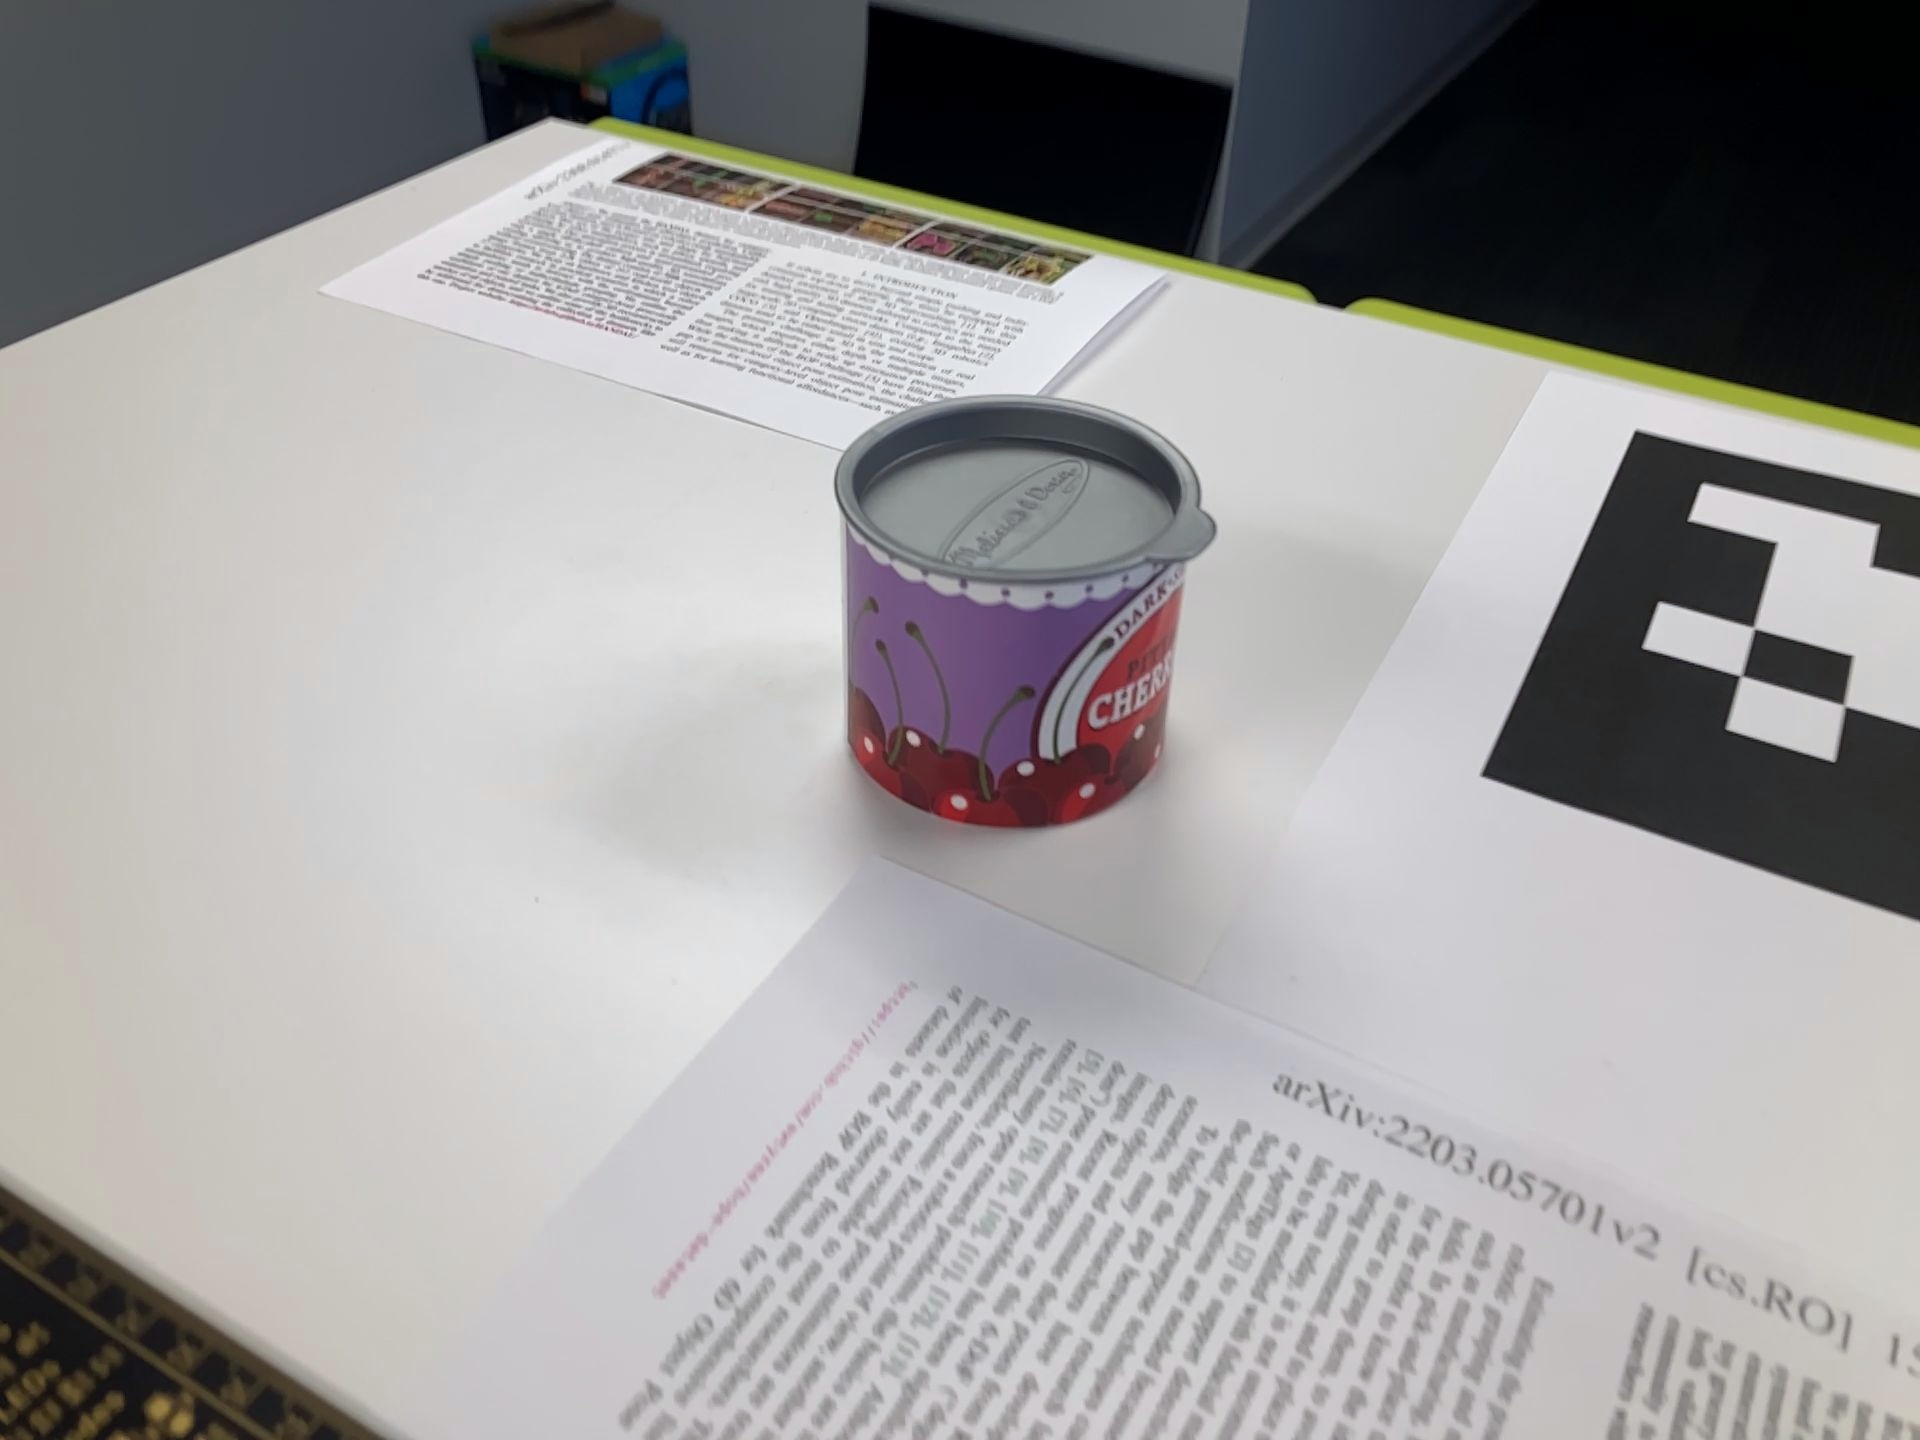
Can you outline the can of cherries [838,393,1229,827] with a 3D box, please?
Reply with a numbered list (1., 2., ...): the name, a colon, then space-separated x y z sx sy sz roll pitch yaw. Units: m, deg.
1. can of cherries: 0.013 -0.021 0.303 0.071 0.058 0.071 1 39 -1
